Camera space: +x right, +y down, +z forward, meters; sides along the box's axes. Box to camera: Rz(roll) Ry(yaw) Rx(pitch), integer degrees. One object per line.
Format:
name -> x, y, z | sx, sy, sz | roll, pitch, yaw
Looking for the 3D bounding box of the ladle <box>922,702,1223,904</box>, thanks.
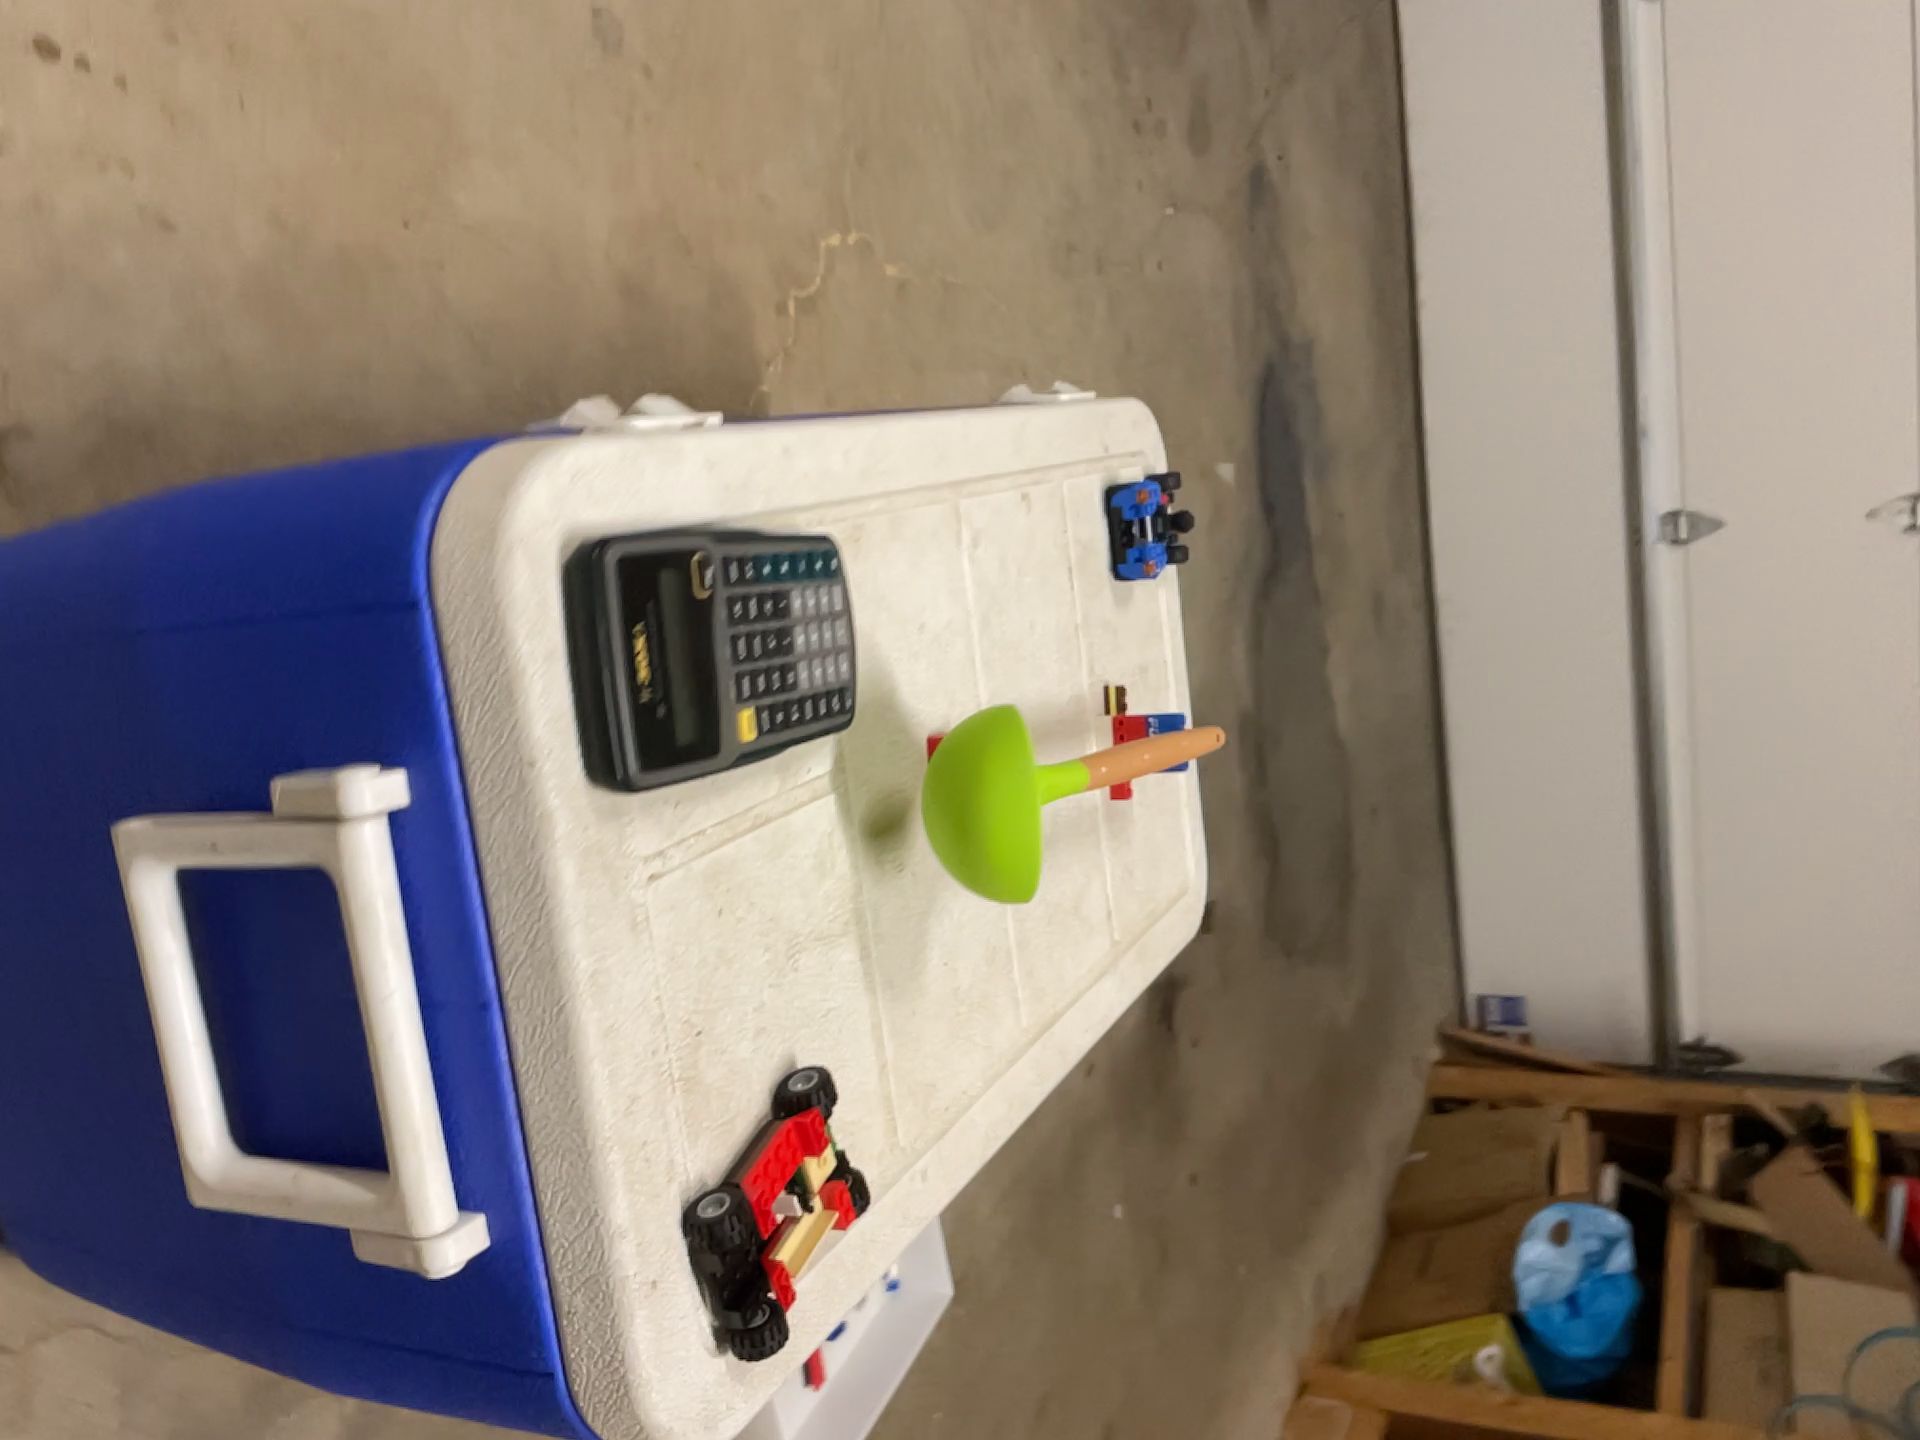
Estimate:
ladle -> 0.074, 0.022, 0.727 | 0.320, 0.062, 0.078 | -10, 96, -62
